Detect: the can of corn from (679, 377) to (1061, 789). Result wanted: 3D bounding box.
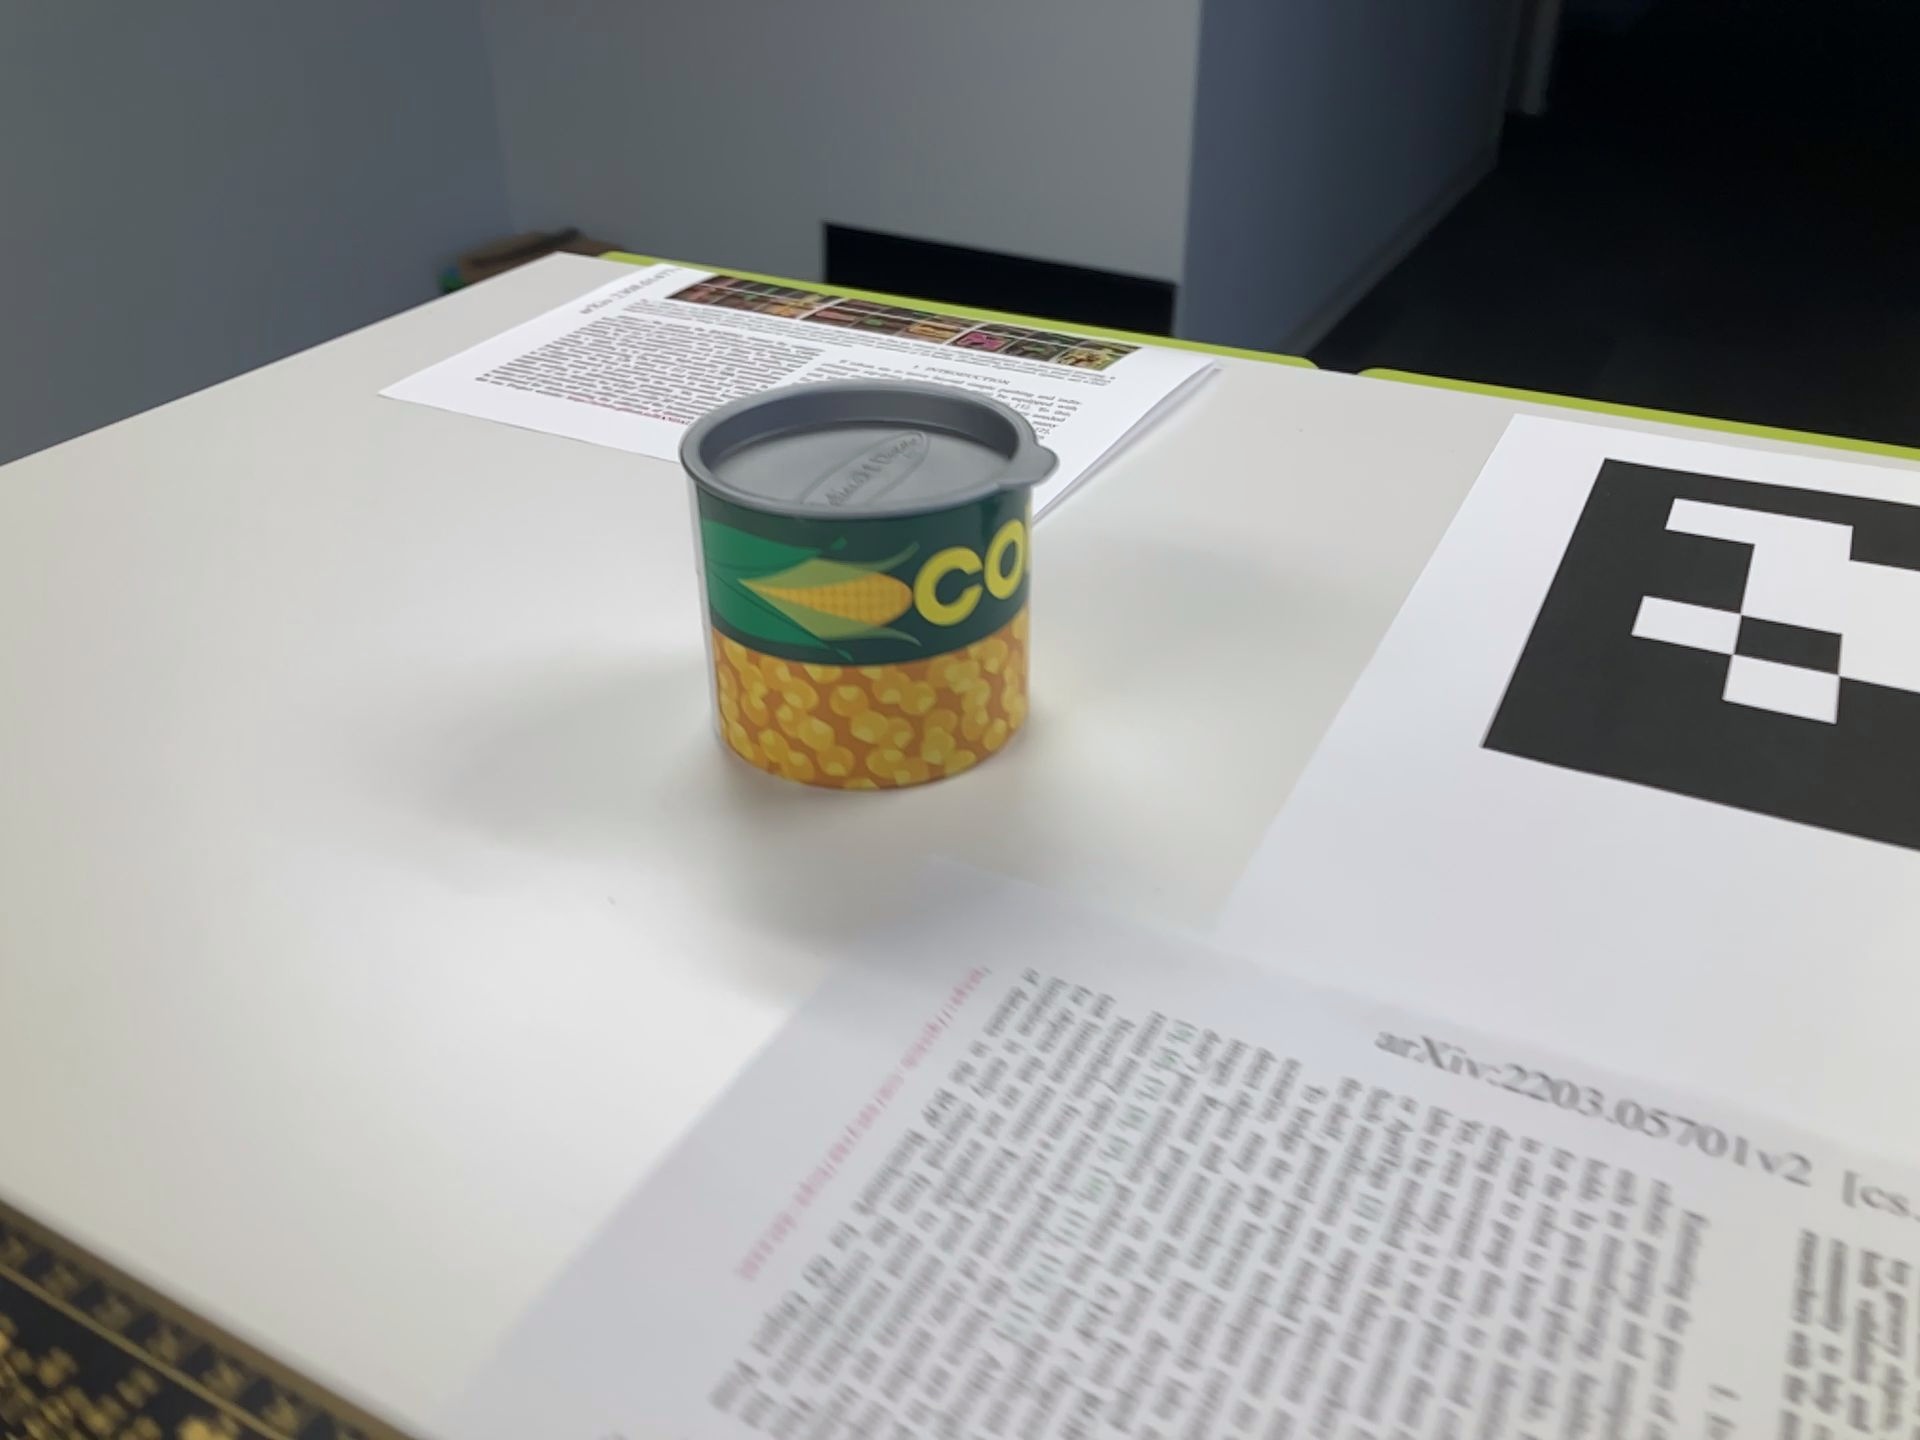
[{"bbox_3d":[-0.016,-0.027,0.307,0.071,0.058,0.071,0,31,0],"label":"can of corn"}]
